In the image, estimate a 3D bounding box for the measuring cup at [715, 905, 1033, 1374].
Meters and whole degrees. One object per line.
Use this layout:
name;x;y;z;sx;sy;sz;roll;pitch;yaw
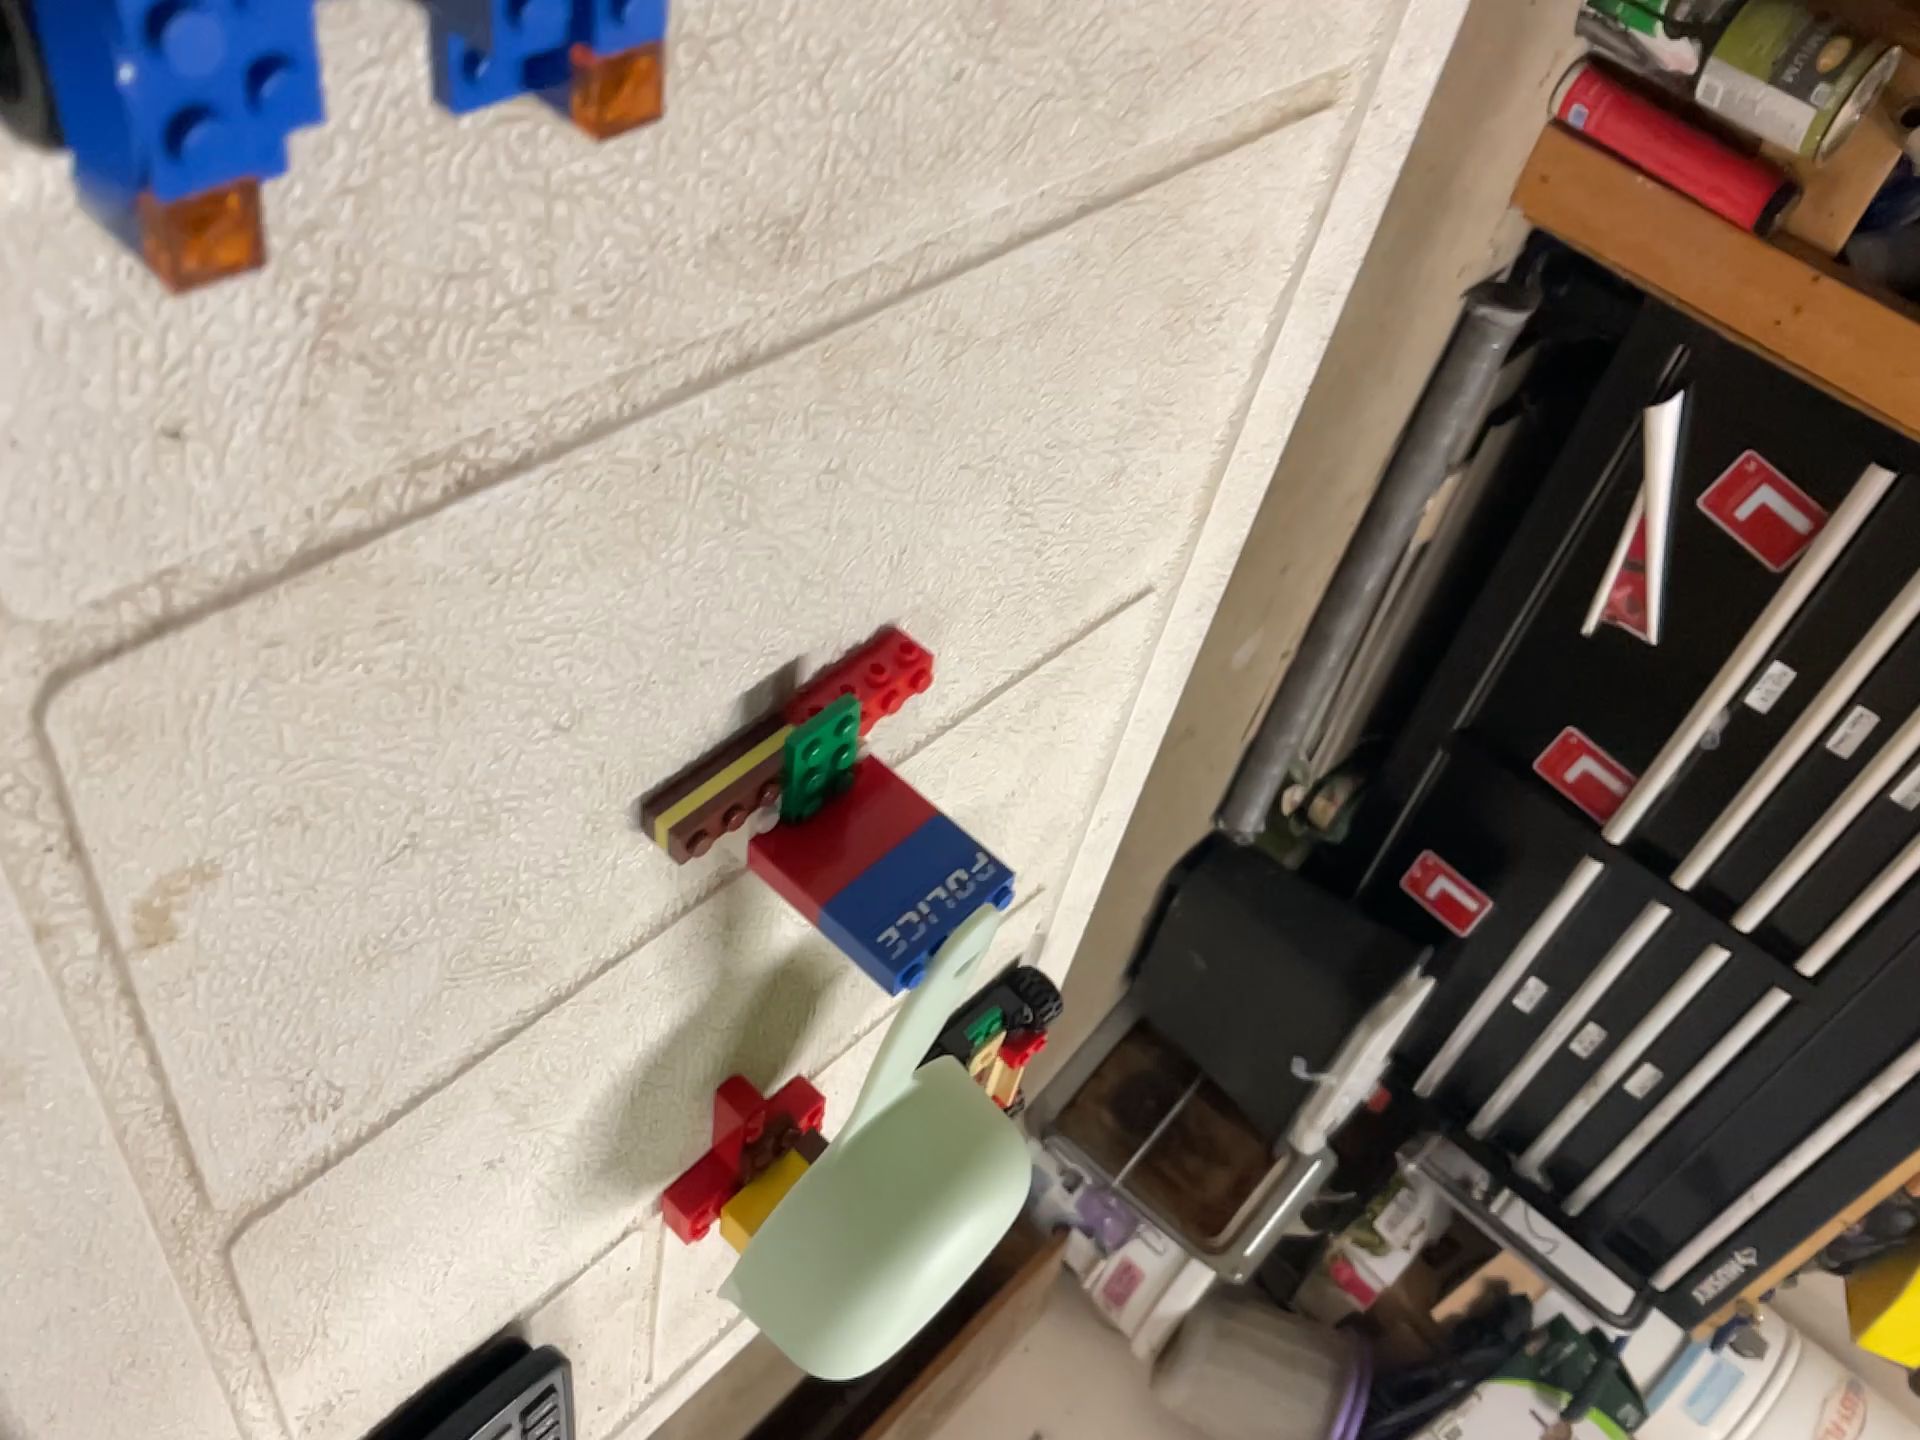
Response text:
measuring cup;-0.005;0.094;0.348;0.083;0.038;0.167;-36;160;-34
